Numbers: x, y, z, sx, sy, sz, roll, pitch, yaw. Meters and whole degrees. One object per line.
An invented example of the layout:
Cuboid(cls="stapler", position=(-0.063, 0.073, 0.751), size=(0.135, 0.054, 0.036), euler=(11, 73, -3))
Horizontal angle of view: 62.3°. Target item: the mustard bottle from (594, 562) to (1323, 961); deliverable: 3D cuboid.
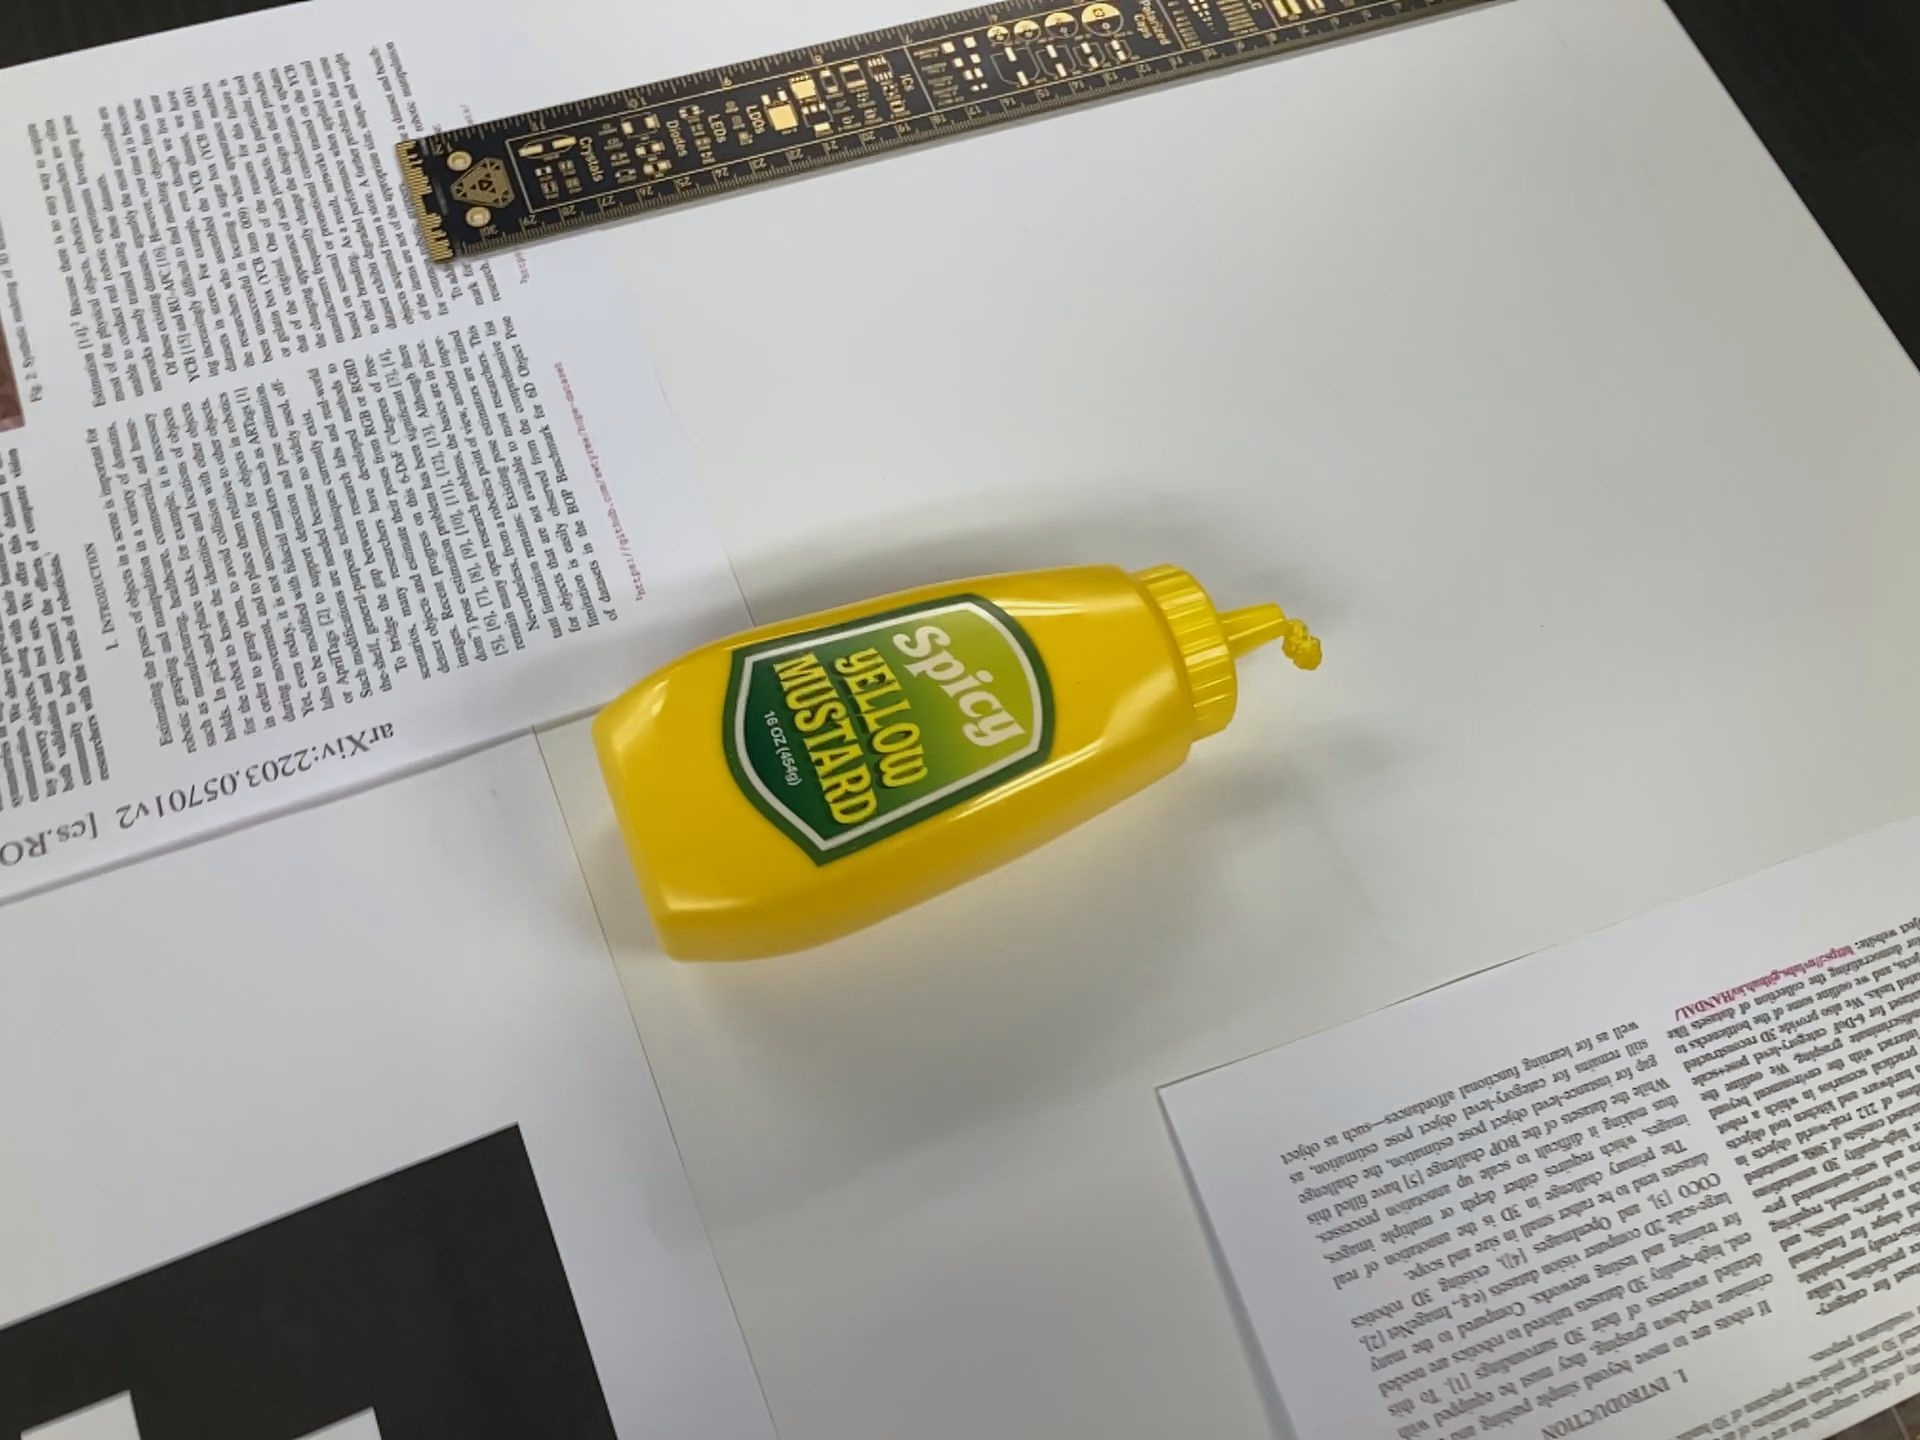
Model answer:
Cuboid(cls="mustard bottle", position=(0.006, -0.001, 0.337), size=(0.160, 0.049, 0.065), euler=(-20, 73, -13))
